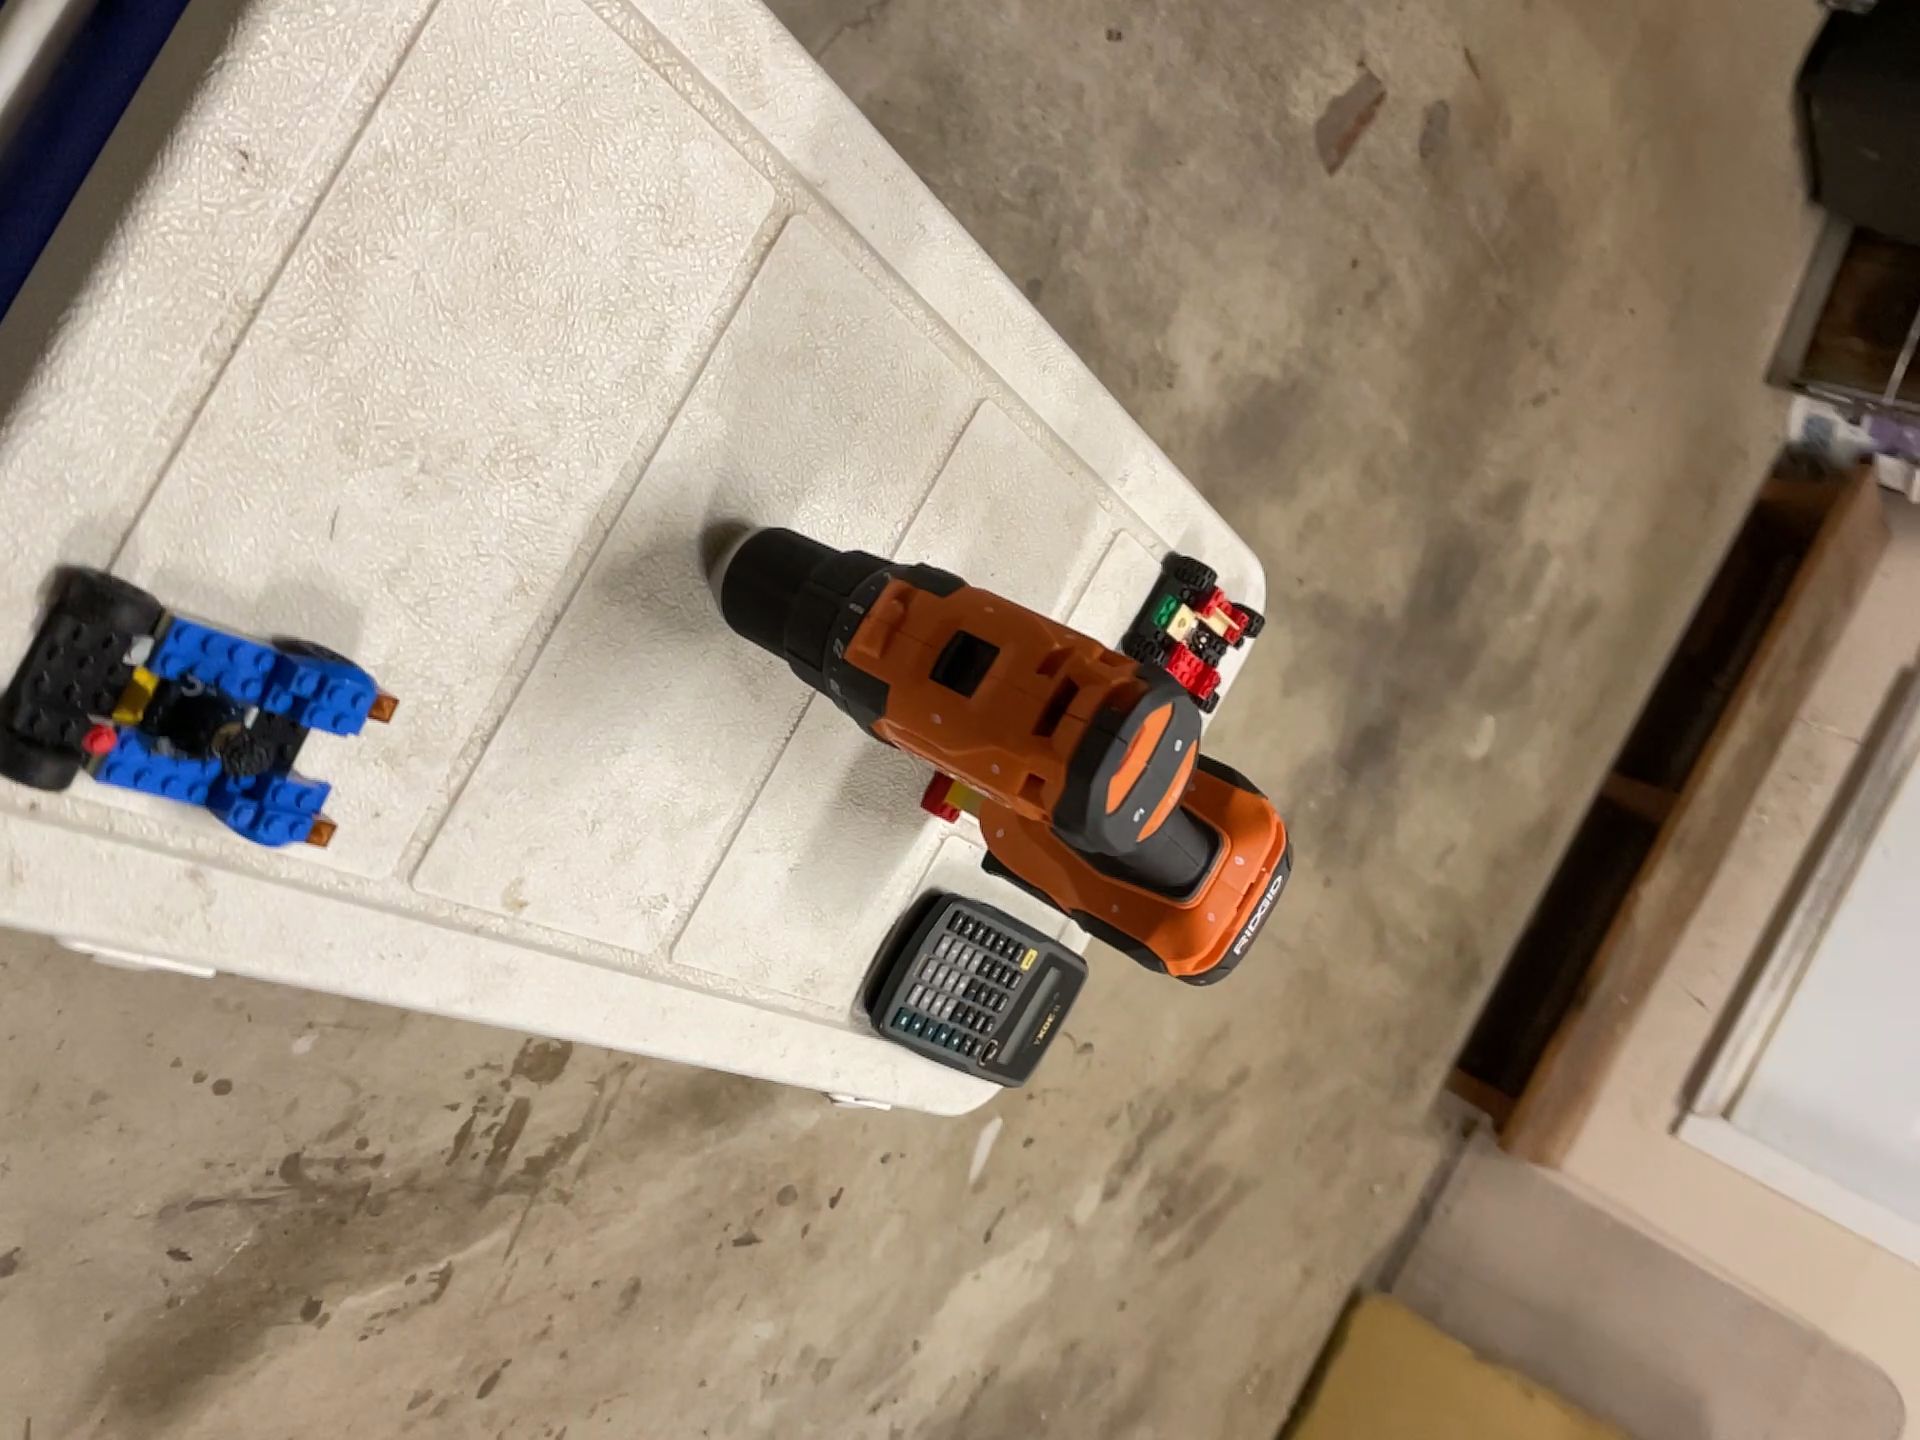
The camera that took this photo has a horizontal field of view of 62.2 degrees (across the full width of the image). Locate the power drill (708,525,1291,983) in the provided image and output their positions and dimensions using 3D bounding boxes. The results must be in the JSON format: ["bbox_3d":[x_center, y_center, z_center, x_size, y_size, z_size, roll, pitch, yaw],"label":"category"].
[{"bbox_3d":[0.019,0.010,0.590,0.084,0.185,0.226,-59,150,-7],"label":"power drill"}]
